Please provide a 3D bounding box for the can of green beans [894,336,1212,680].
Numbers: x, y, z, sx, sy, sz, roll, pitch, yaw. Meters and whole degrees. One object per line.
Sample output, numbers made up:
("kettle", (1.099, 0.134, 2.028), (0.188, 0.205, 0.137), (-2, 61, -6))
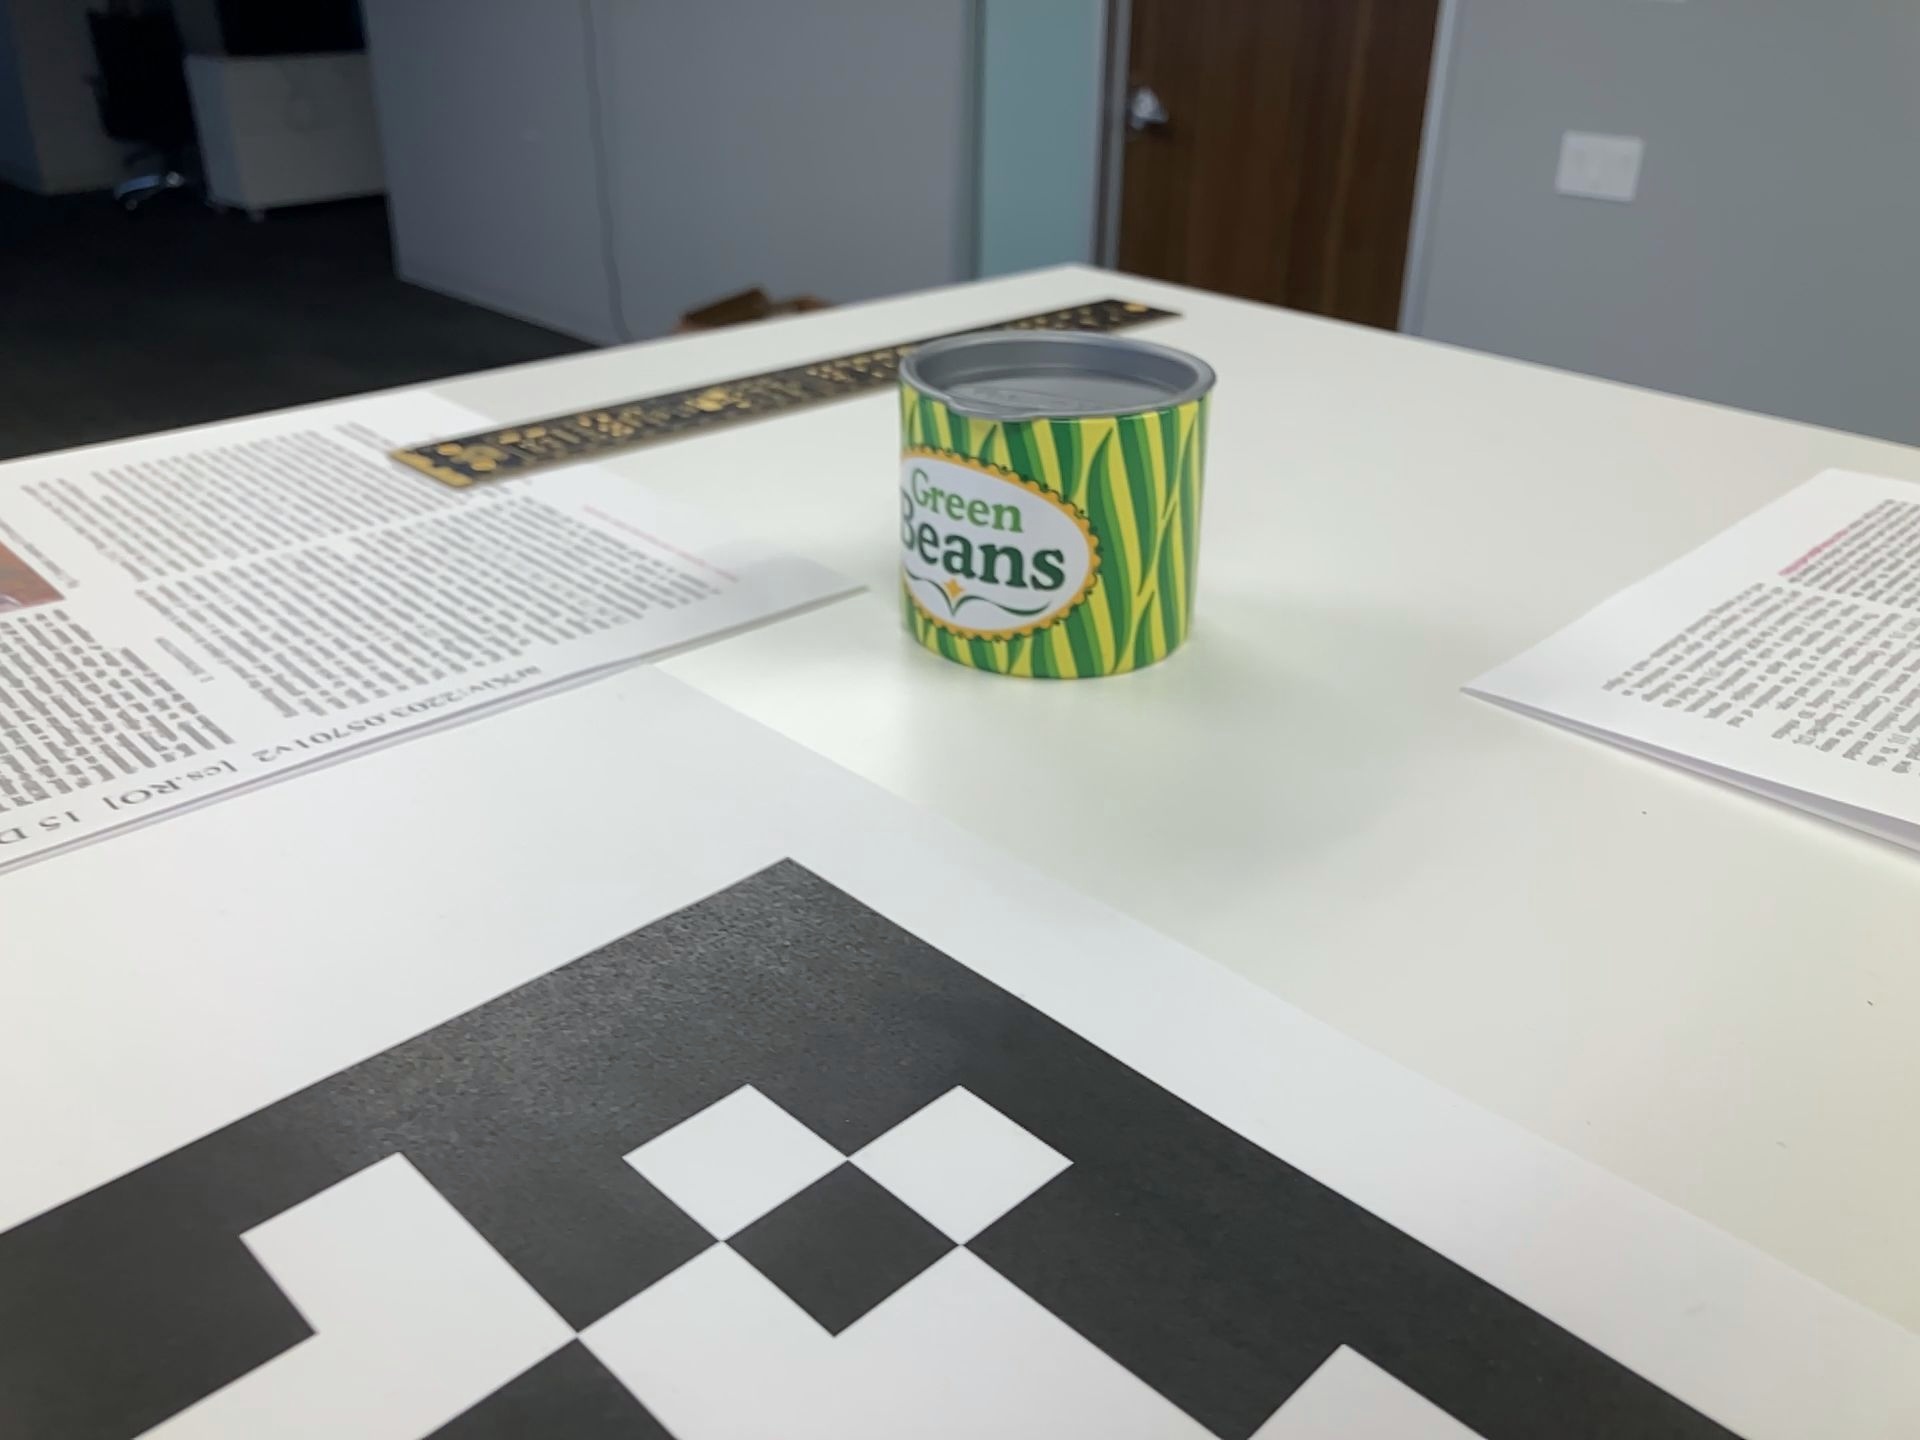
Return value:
("can of green beans", (0.019, -0.048, 0.348), (0.071, 0.058, 0.071), (1, 26, 0))
